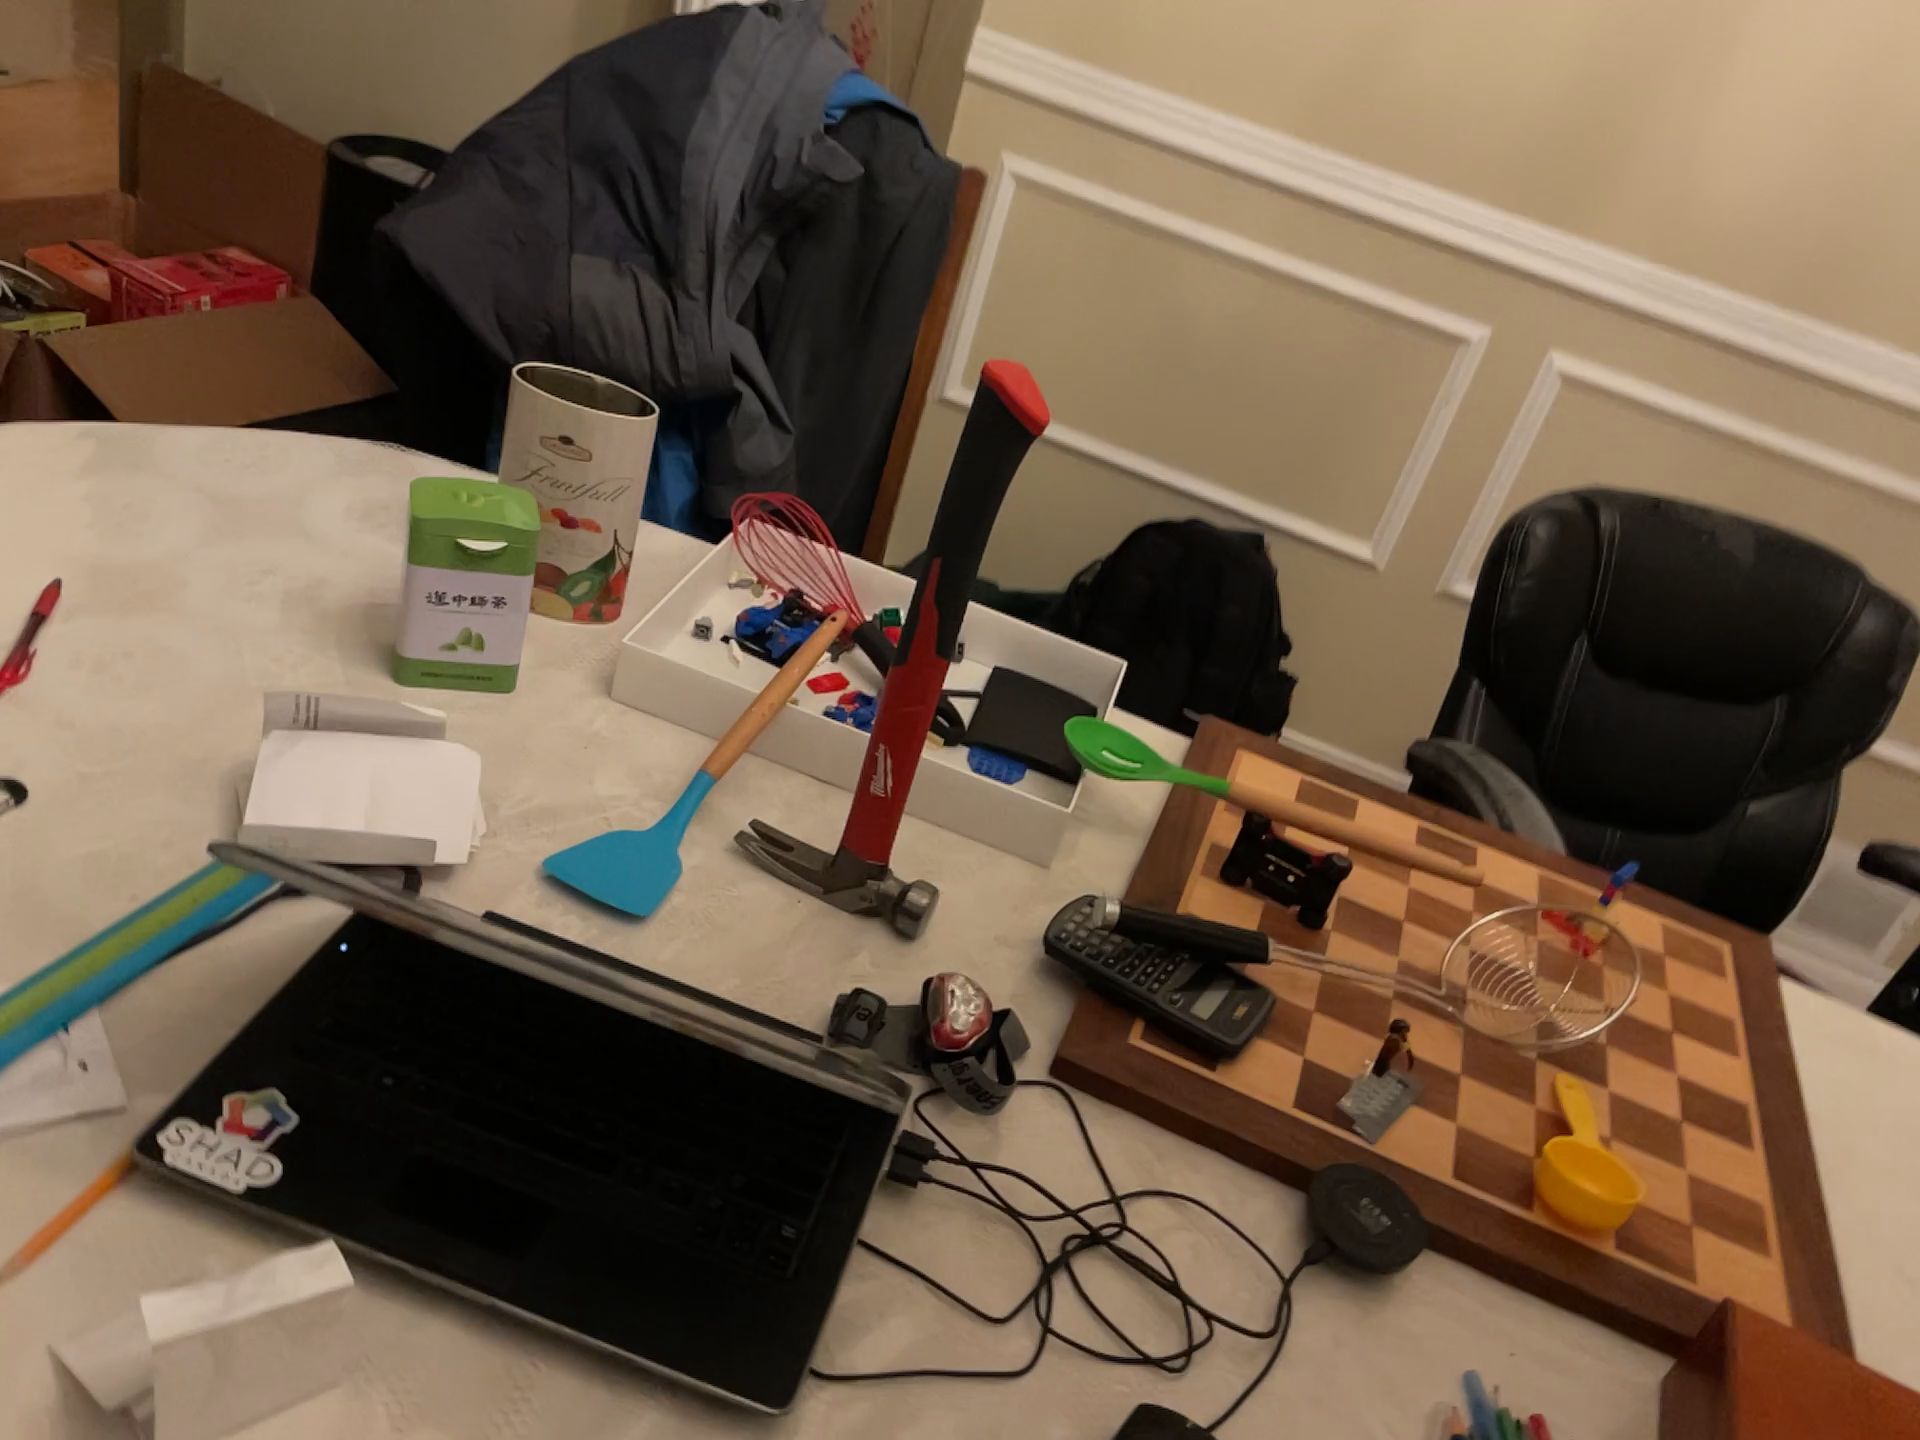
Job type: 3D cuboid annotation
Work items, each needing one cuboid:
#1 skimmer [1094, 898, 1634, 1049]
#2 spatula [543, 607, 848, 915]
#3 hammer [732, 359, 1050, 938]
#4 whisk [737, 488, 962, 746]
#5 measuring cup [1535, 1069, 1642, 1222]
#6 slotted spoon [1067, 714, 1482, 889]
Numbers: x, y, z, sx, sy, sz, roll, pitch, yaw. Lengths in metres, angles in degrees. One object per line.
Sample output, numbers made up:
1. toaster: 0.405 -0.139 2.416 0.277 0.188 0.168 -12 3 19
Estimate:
1. skimmer: 0.272 0.145 1.065 0.363 0.090 0.127 14 32 -14
2. spatula: -0.160 0.016 1.102 0.082 0.044 0.317 24 52 14
3. hammer: -0.038 -0.042 0.977 0.143 0.386 0.038 24 31 11
4. whisk: -0.094 -0.088 1.314 0.073 0.073 0.296 -29 66 -28
5. measuring cup: 0.391 0.268 1.013 0.062 0.029 0.156 20 18 9
6. slotted spoon: 0.219 0.061 1.149 0.314 0.031 0.070 20 27 22
